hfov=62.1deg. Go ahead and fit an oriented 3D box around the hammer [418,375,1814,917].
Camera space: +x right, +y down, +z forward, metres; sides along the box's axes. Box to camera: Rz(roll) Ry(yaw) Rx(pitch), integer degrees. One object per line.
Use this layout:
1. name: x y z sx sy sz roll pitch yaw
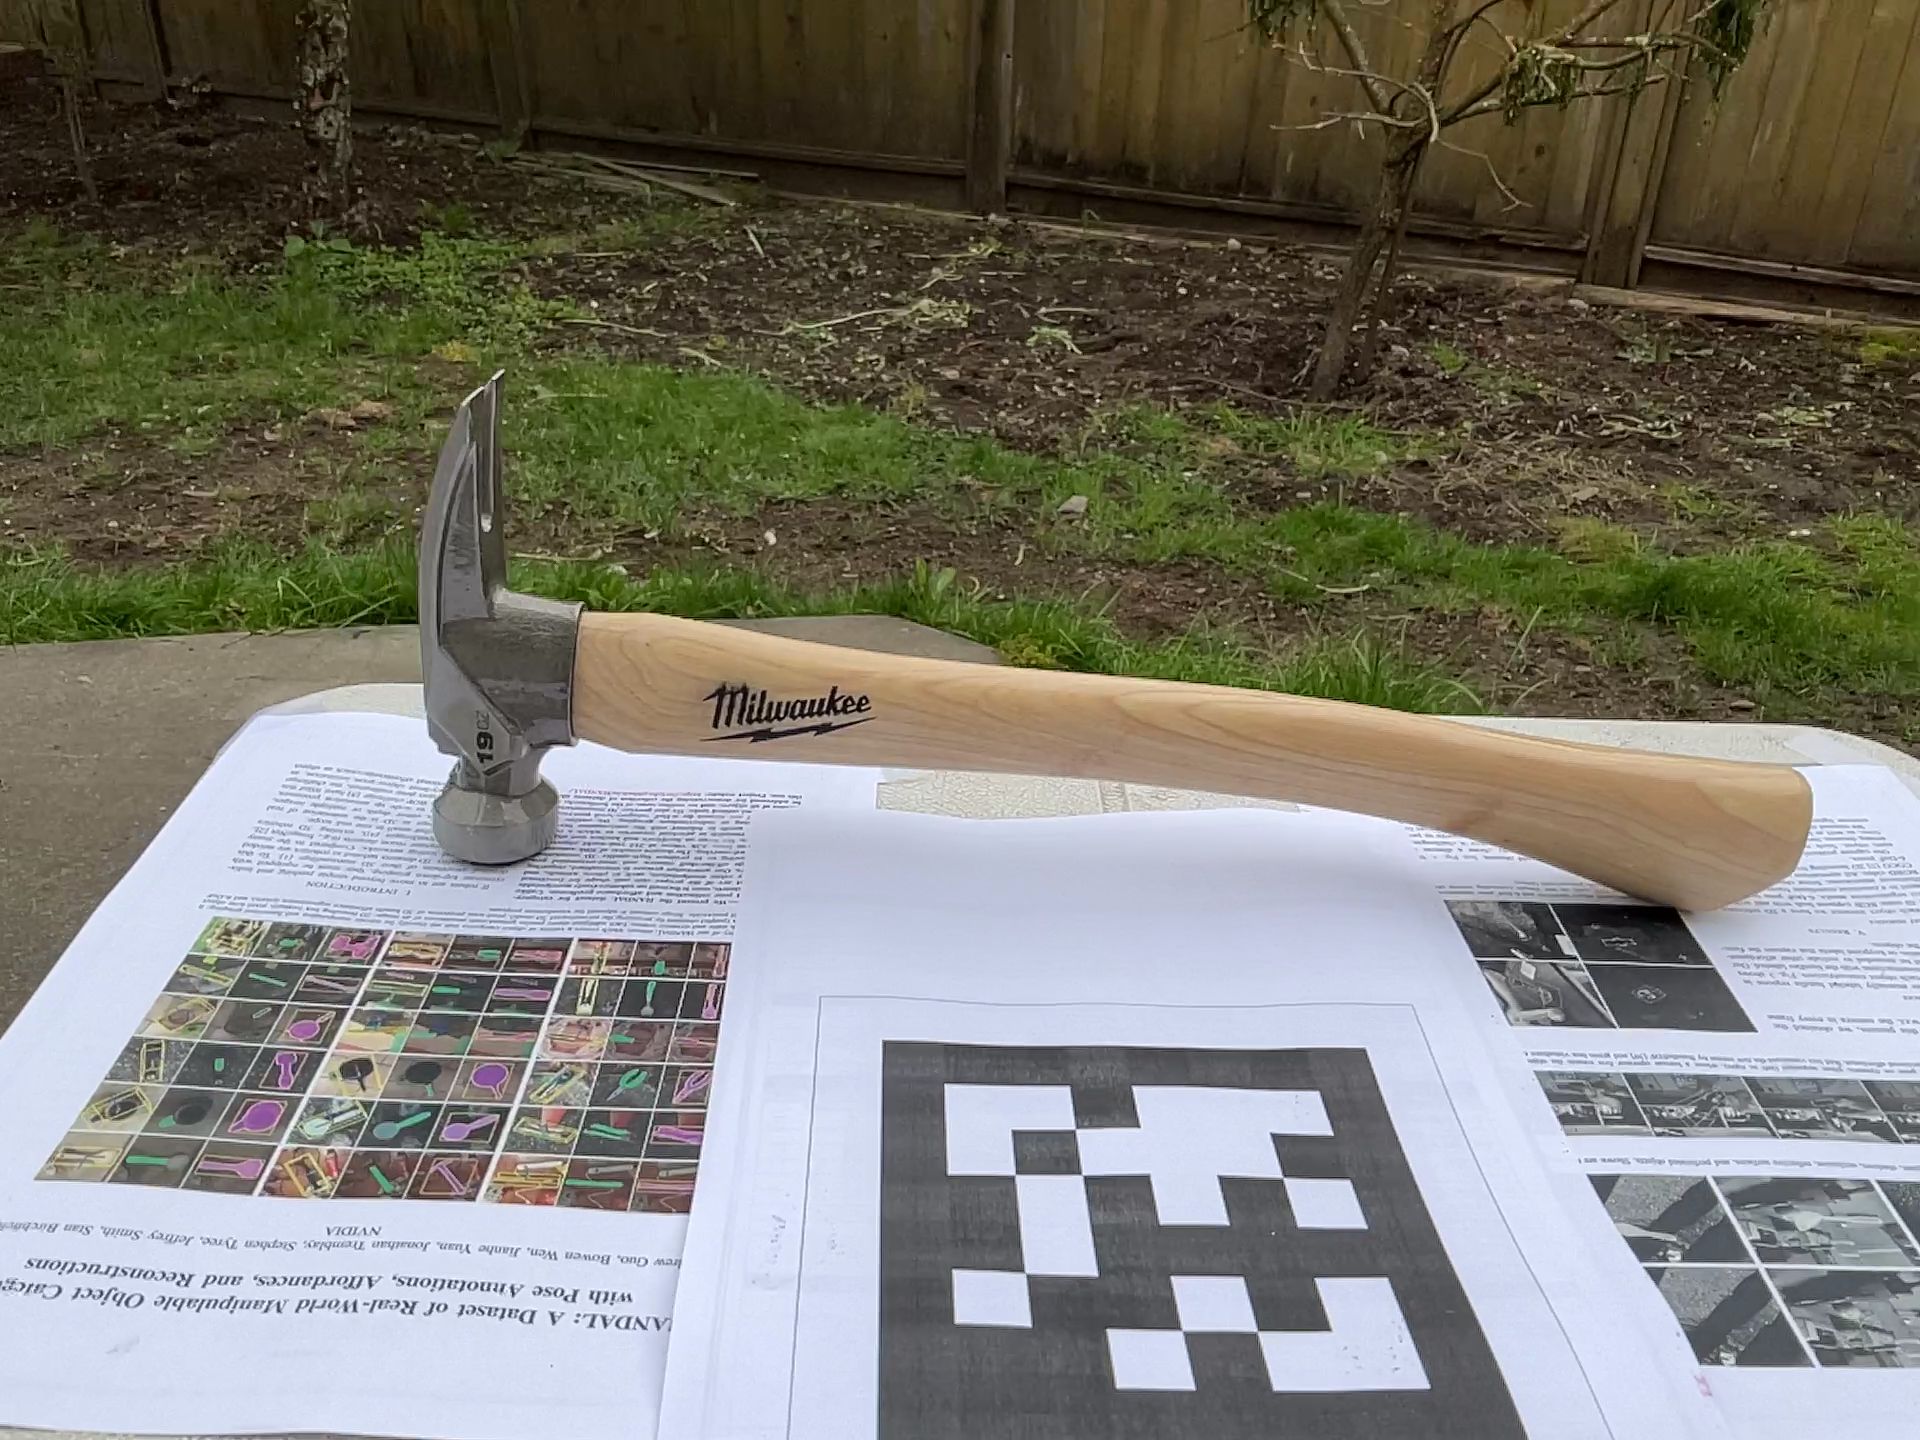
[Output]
1. hammer: 0.048 -0.003 0.473 0.410 0.146 0.038 7 28 -2
